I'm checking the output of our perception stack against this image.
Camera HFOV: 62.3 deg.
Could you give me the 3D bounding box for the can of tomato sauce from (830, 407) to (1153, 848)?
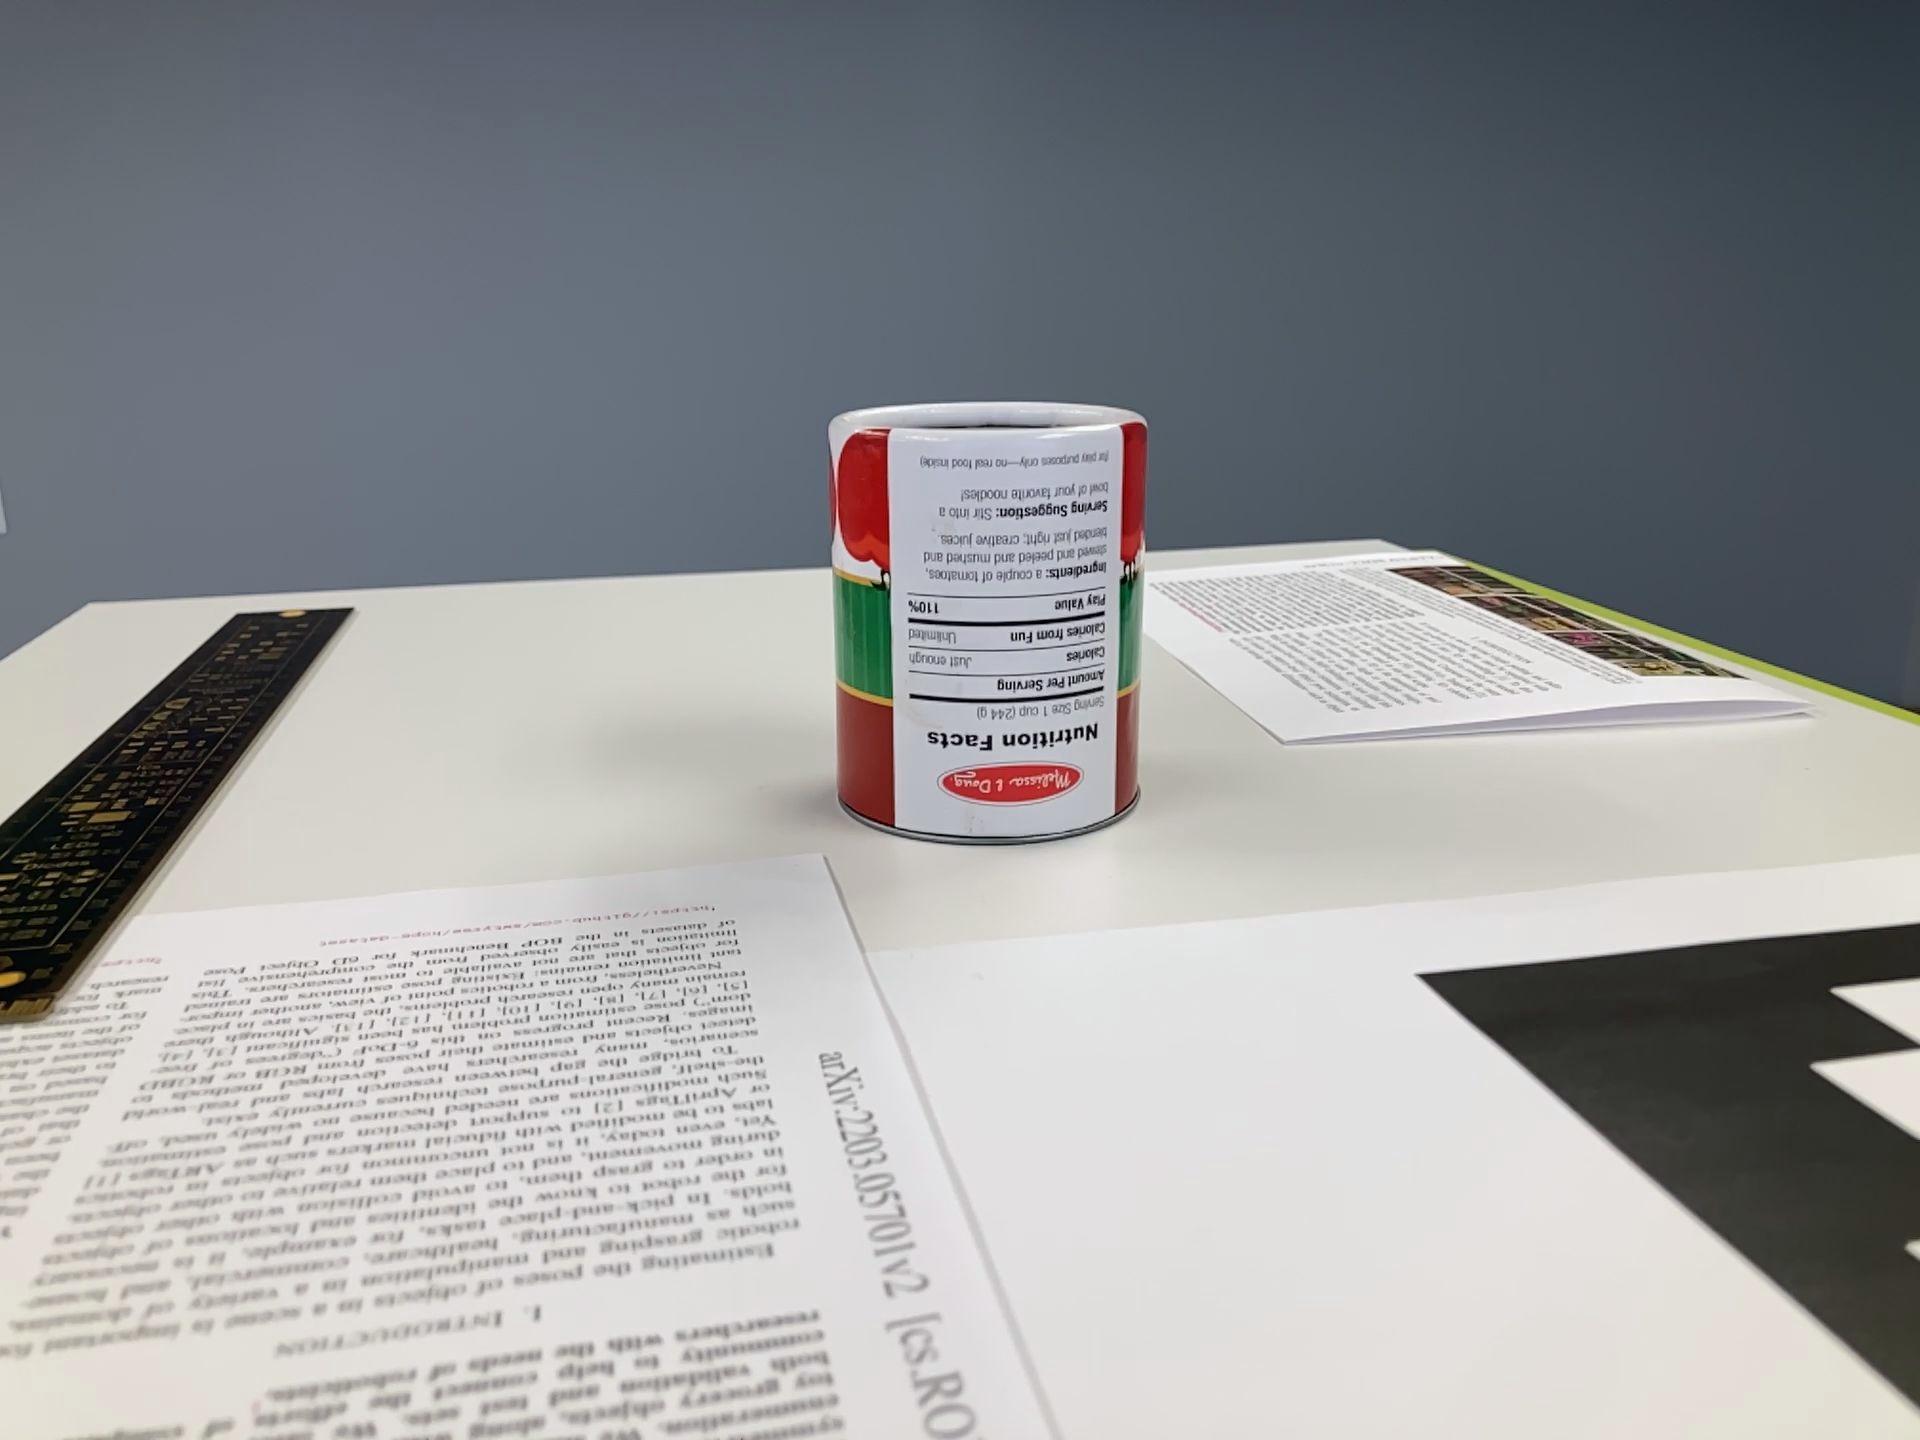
[{"bbox_3d":[0.007,-0.023,0.343,0.071,0.083,0.071,-3,15,1],"label":"can of tomato sauce"}]
